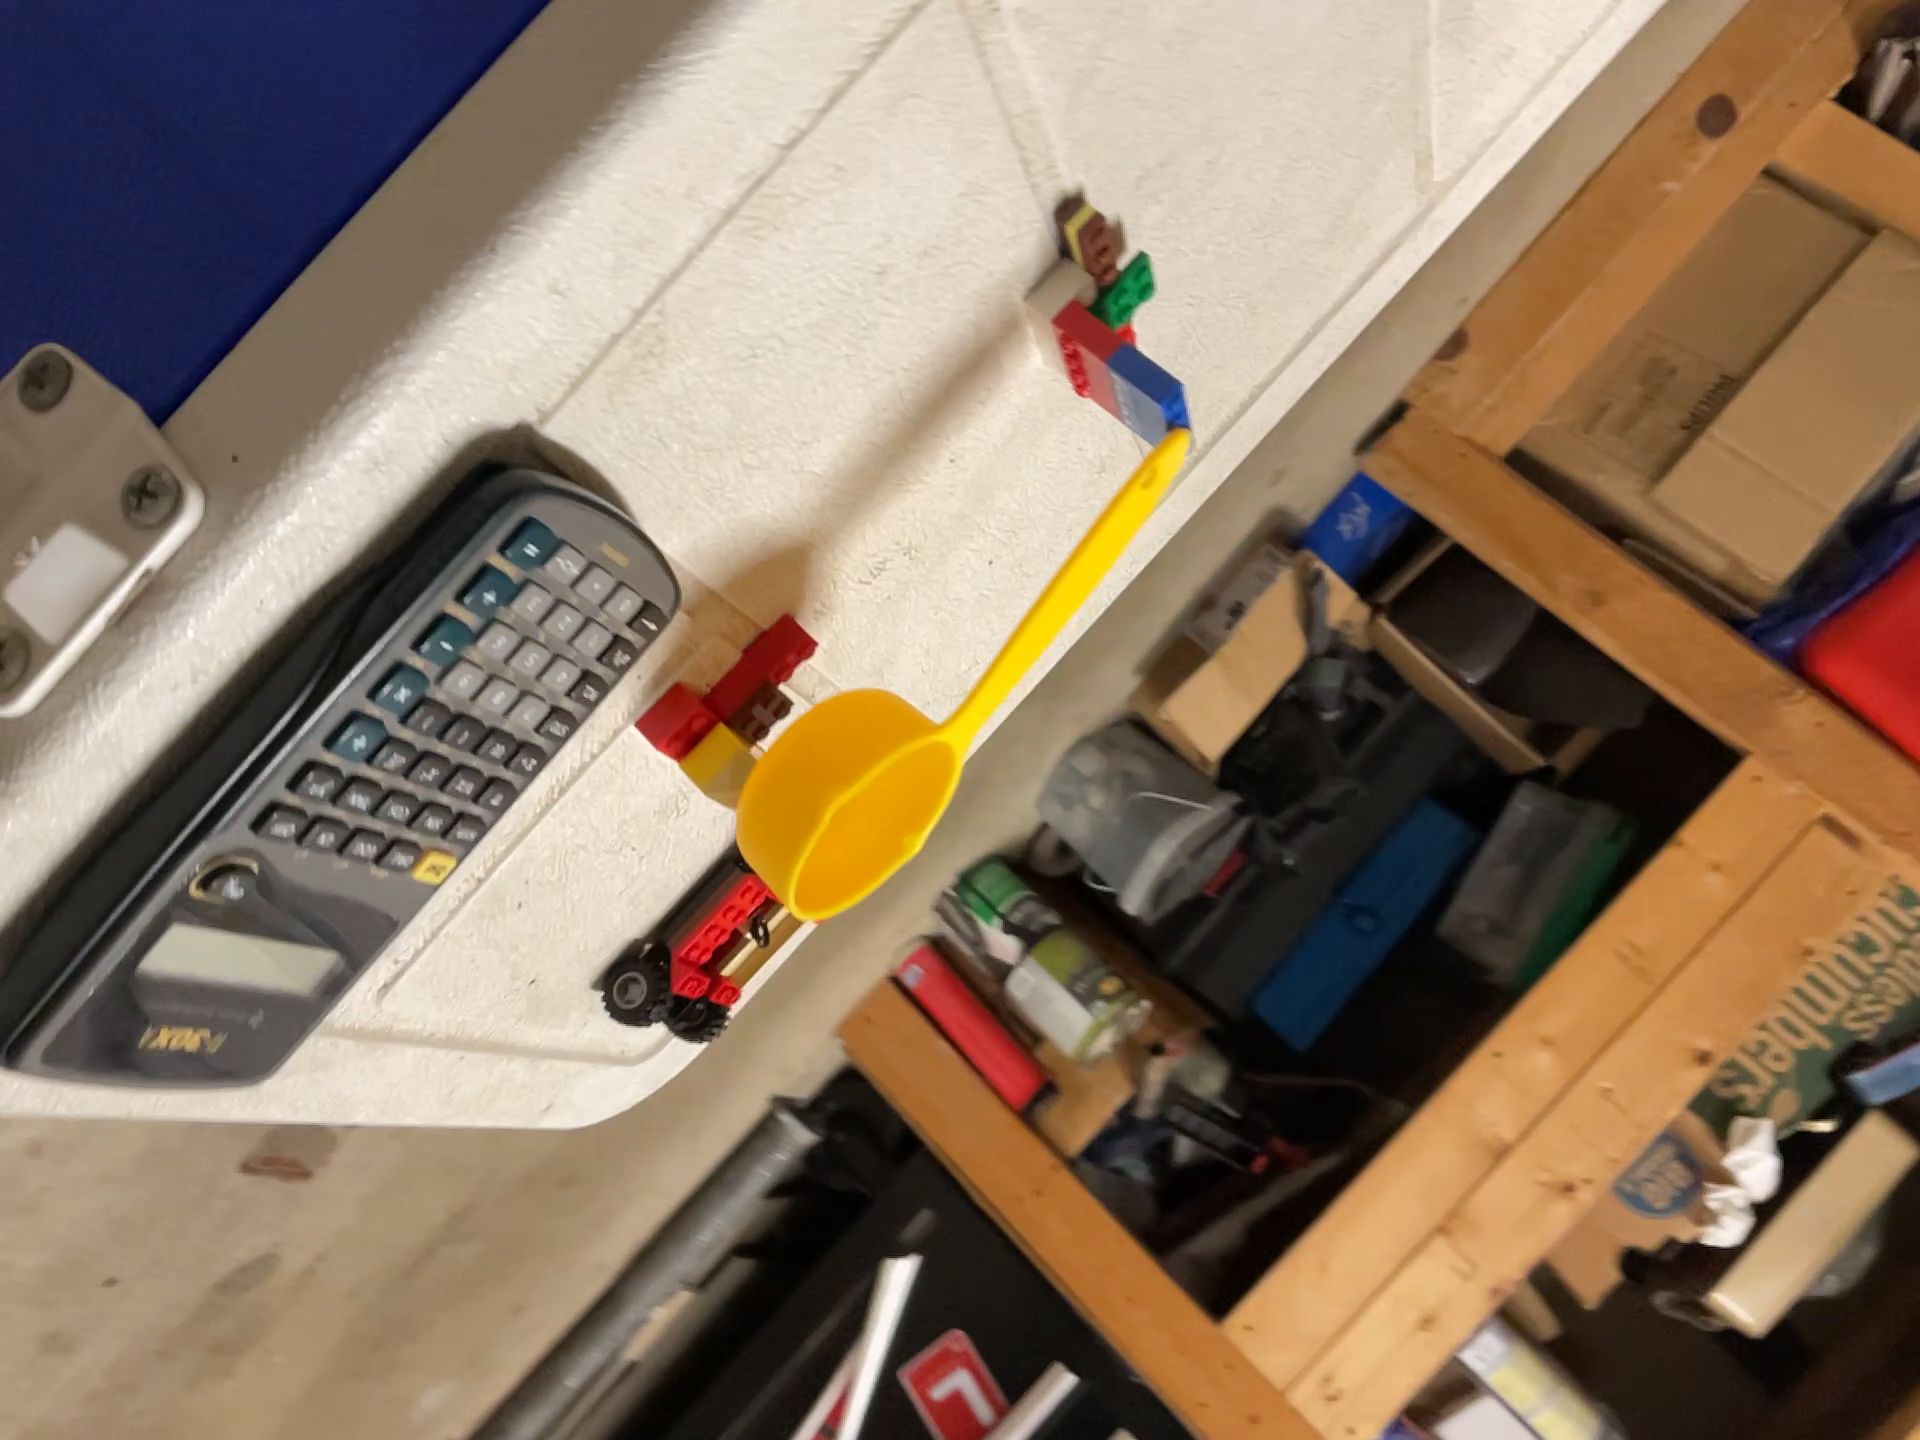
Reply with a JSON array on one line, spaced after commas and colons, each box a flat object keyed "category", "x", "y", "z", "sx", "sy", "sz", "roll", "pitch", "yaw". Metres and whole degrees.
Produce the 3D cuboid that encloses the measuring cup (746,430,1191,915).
[{"category": "measuring cup", "x": 0.002, "y": -0.019, "z": 0.411, "sx": 0.156, "sy": 0.029, "sz": 0.062, "roll": -51, "pitch": 159, "yaw": -1}]
